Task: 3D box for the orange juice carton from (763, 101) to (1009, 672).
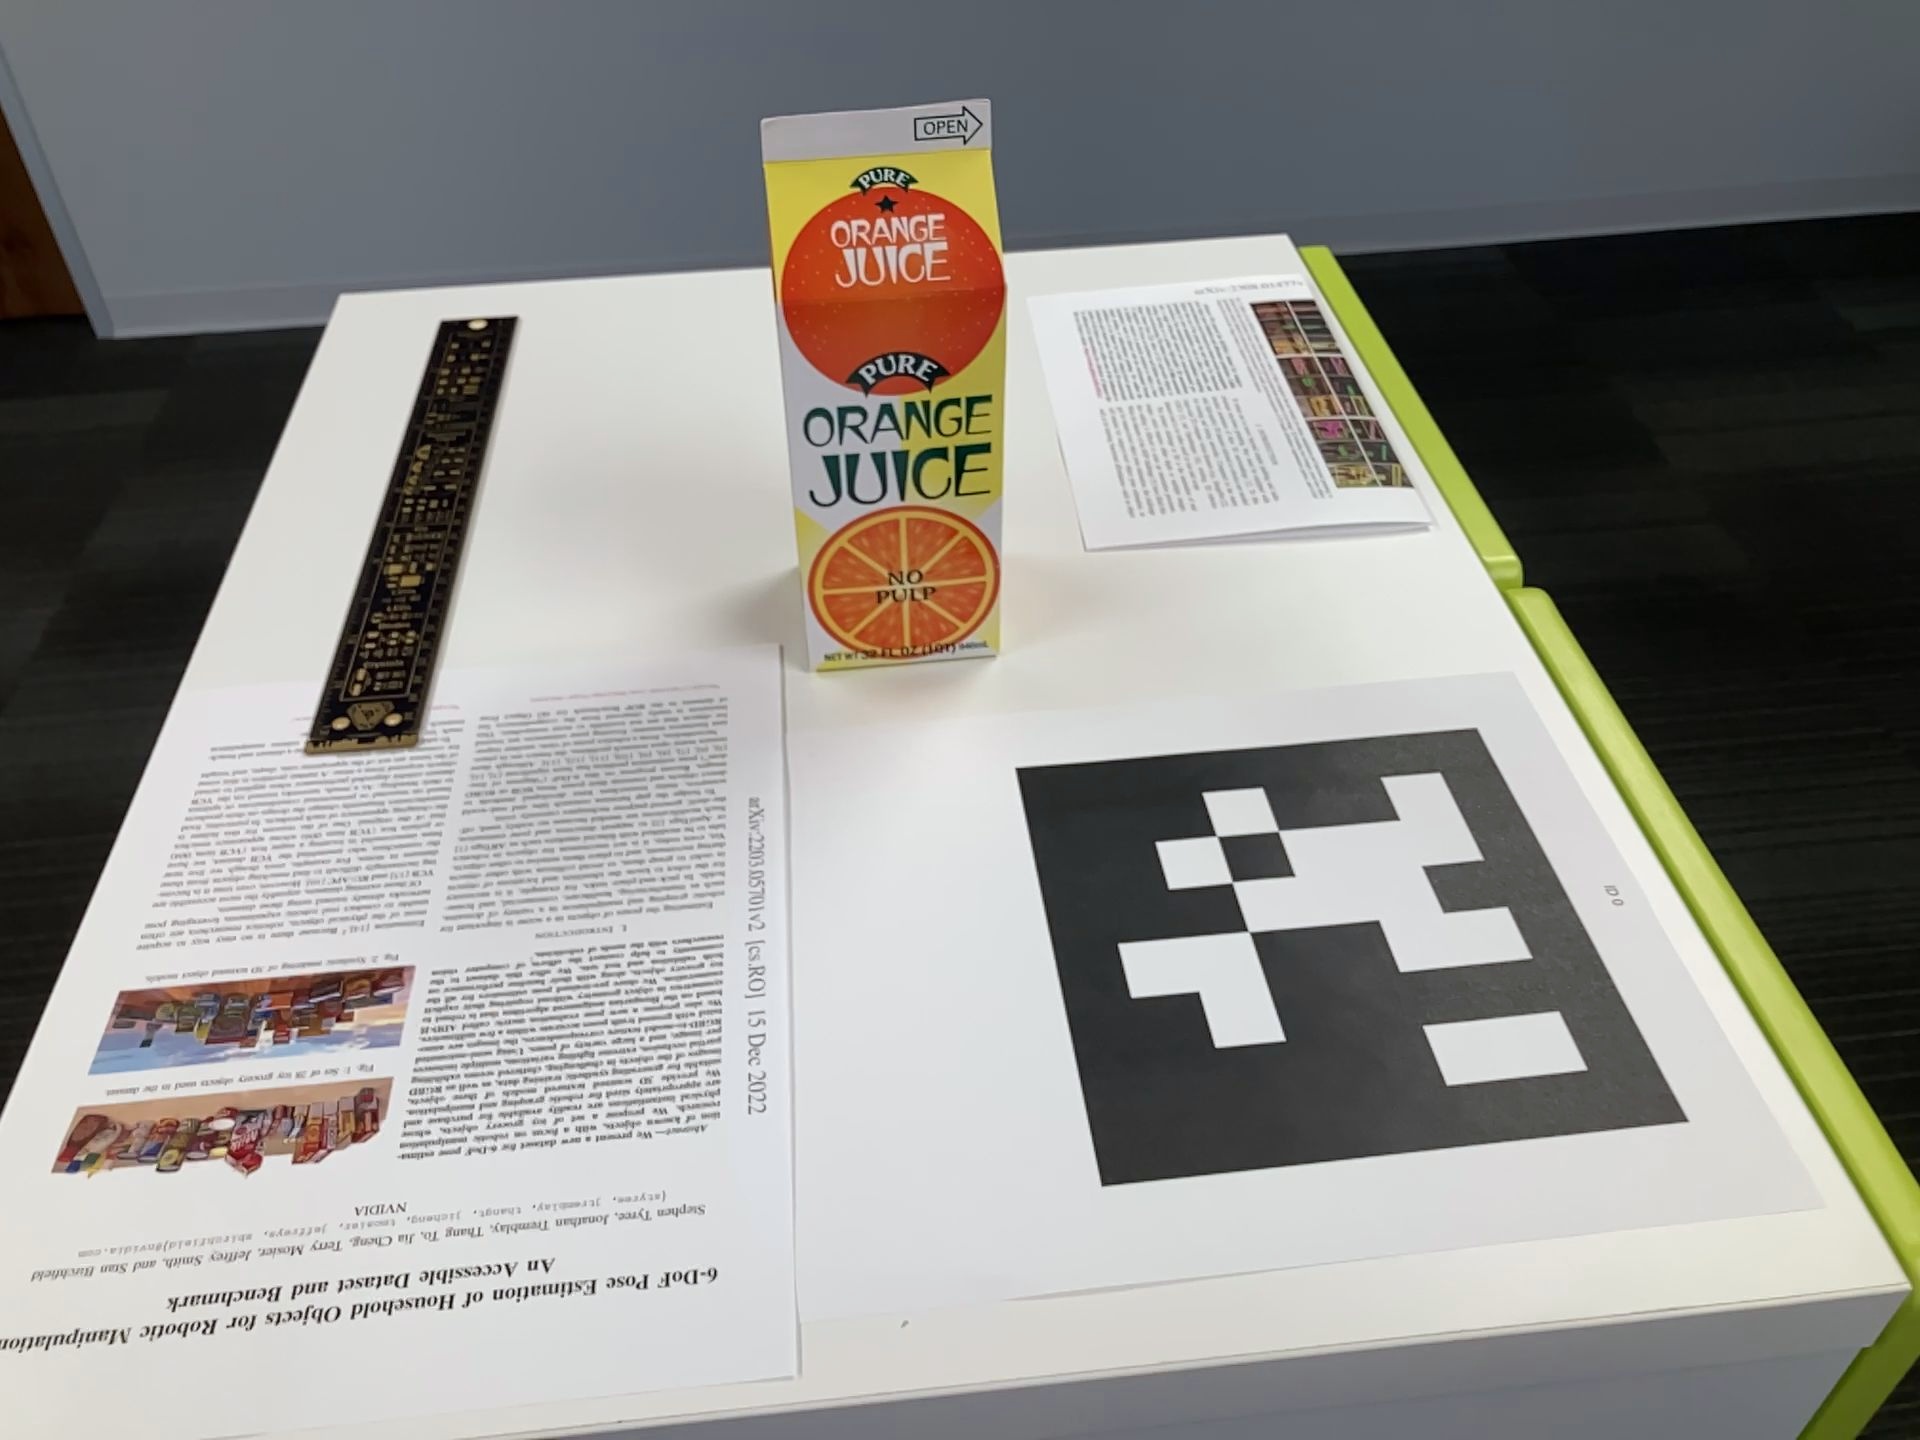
[{"bbox_3d":[-0.025,-0.113,0.543,0.072,0.192,0.073,-5,43,-5],"label":"orange juice carton"}]
